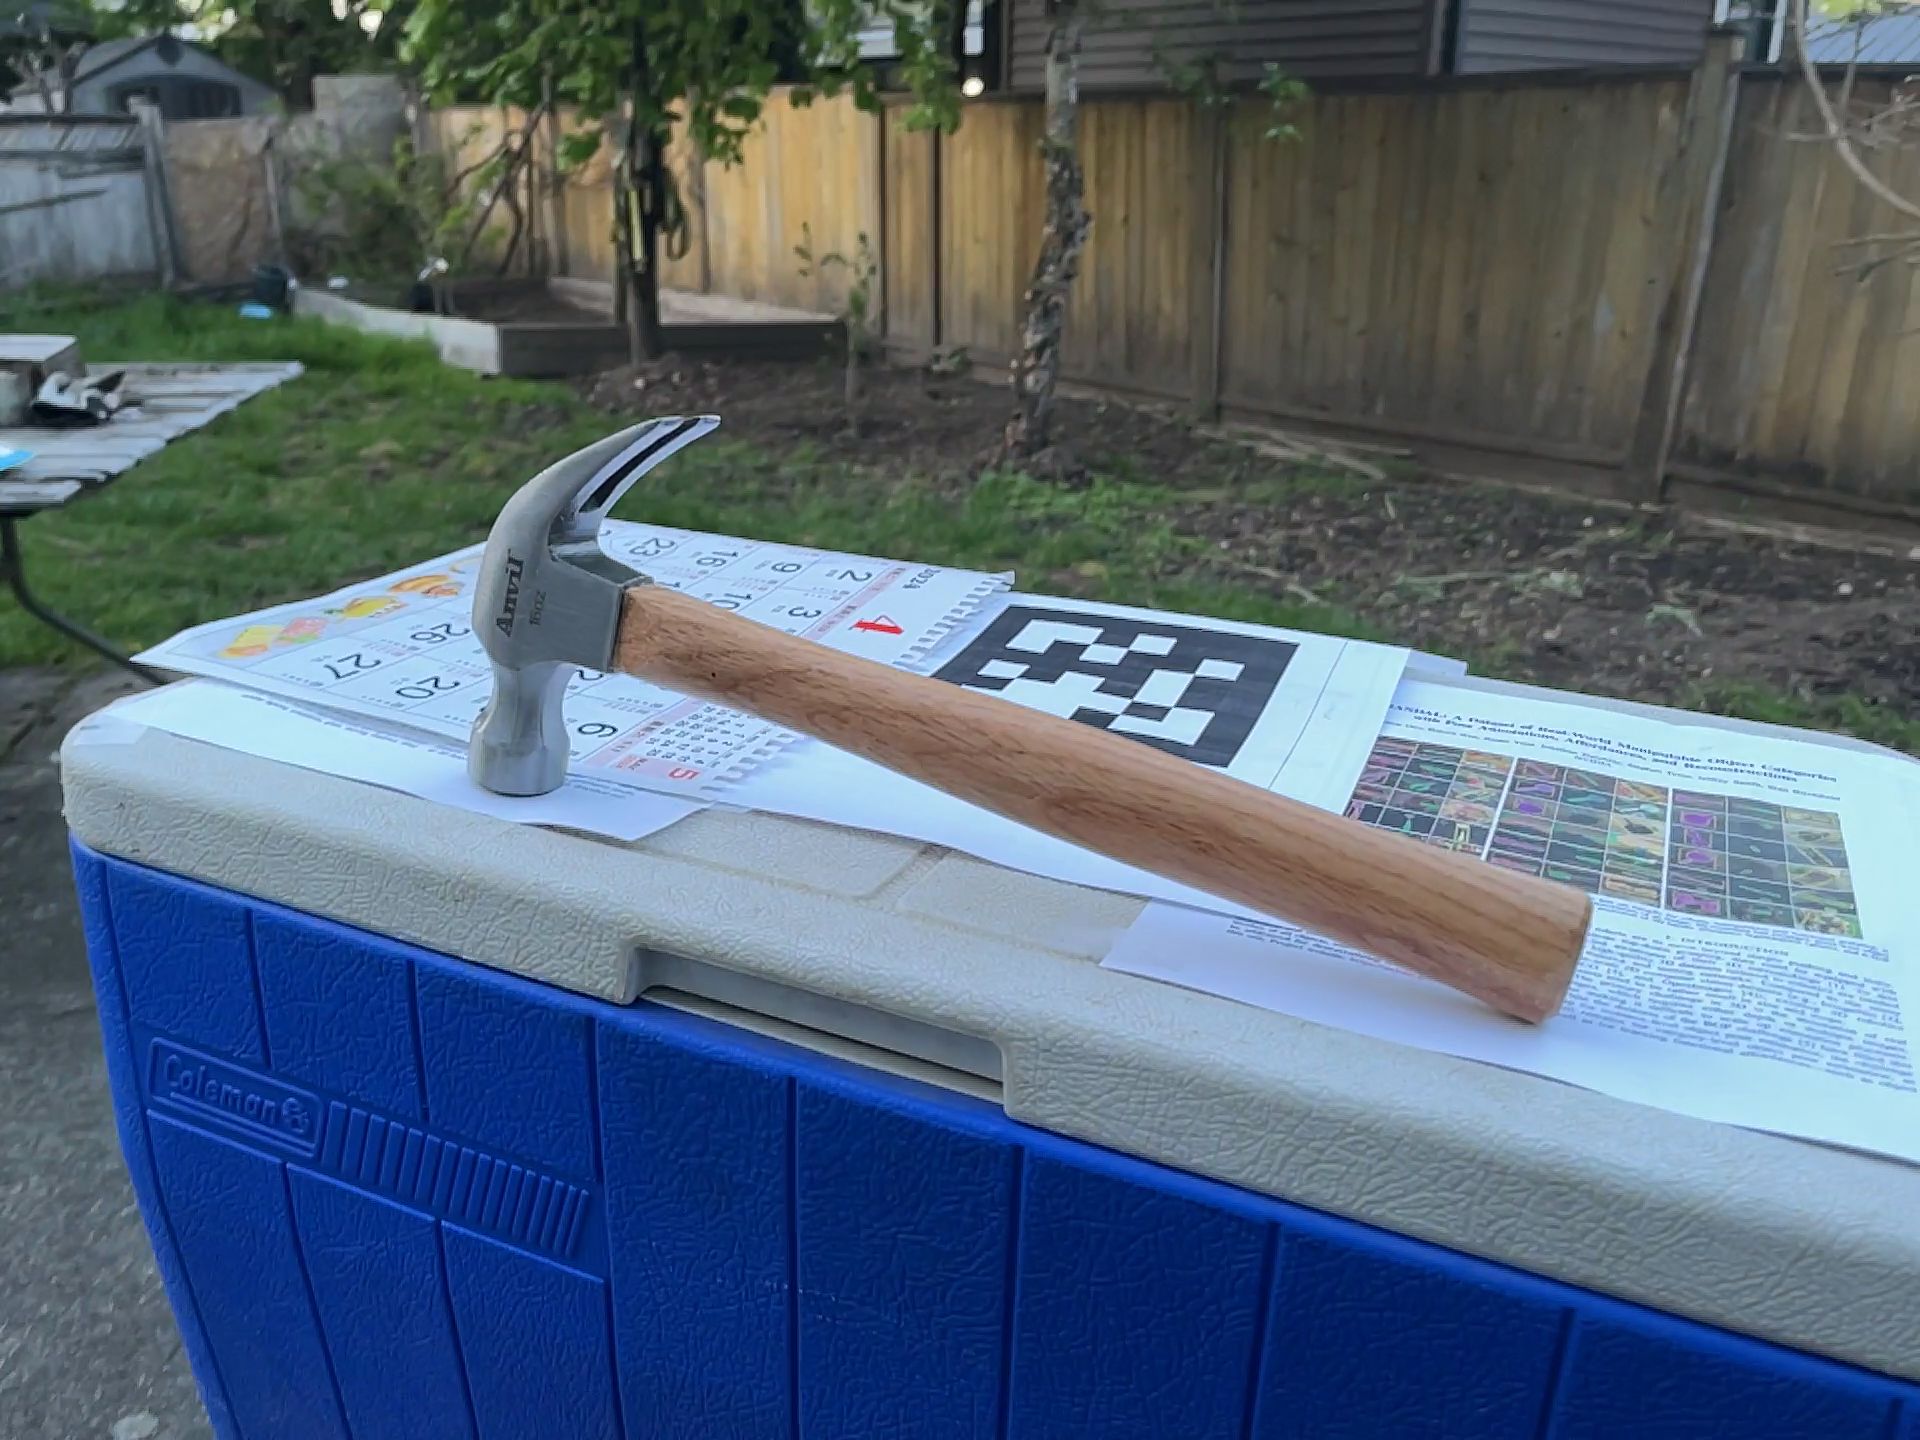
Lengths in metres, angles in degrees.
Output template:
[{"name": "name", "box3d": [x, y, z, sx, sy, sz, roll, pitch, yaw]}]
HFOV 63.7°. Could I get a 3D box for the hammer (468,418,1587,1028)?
[{"name": "hammer", "box3d": [0.004, 0.006, 0.435, 0.331, 0.130, 0.031, 19, 20, 18]}]
